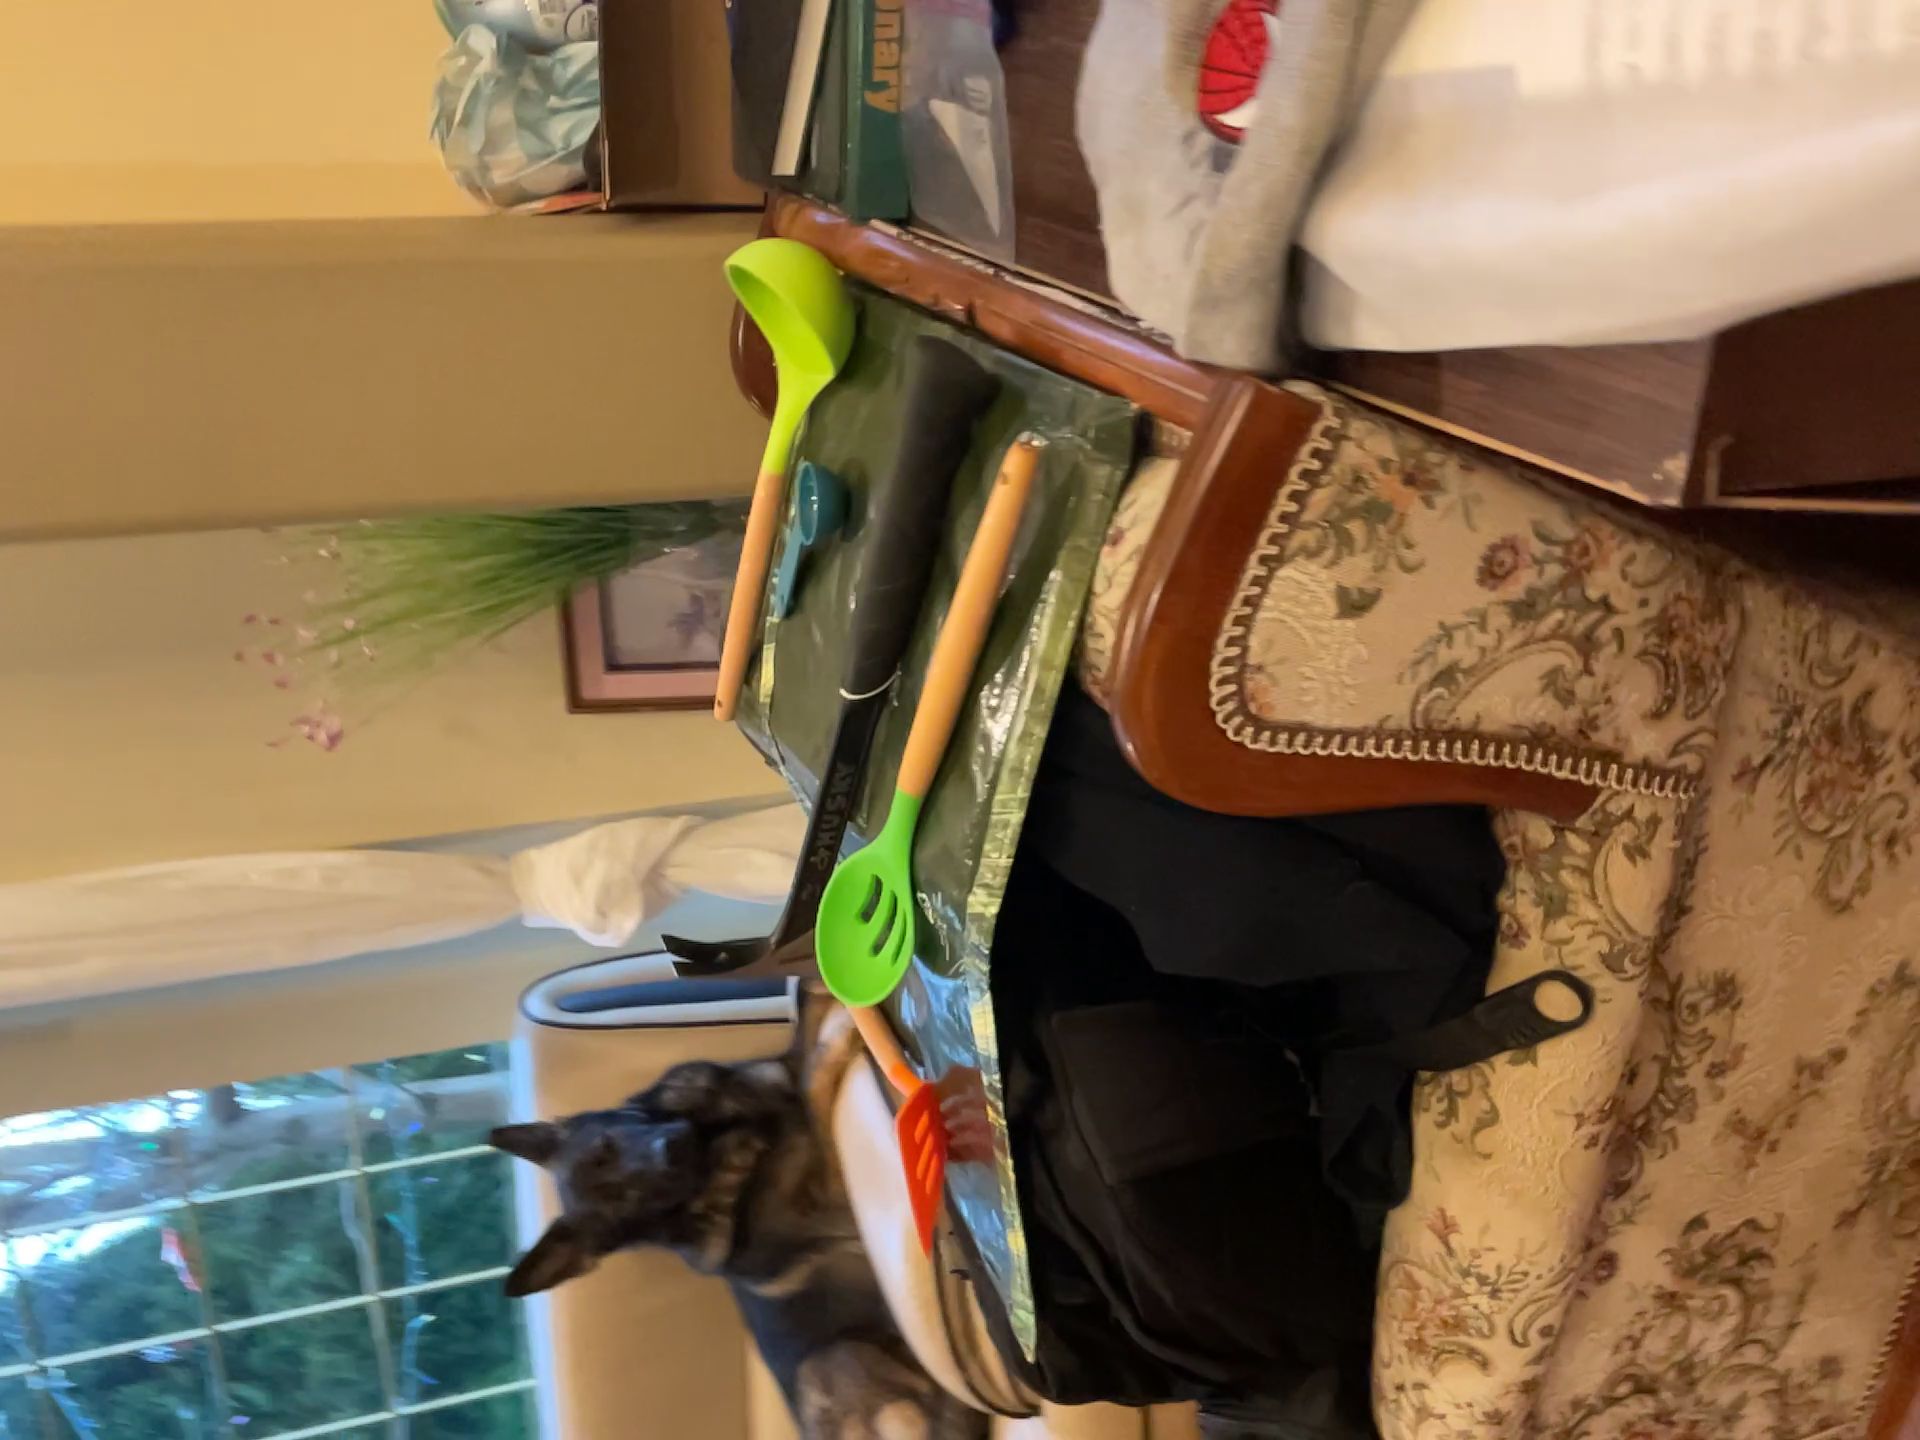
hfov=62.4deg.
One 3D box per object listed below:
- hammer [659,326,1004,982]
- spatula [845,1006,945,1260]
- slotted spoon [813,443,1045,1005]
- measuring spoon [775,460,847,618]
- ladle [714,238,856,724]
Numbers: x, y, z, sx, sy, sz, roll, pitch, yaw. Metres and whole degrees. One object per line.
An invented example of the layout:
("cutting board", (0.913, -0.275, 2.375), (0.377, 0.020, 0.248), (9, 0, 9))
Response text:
("hammer", (-0.054, -0.009, 0.794), (0.036, 0.149, 0.408), (56, 141, 39))
("spatula", (-0.051, 0.208, 0.964), (0.323, 0.041, 0.081), (-143, 41, -70))
("slotted spoon", (-0.014, 0.012, 0.725), (0.070, 0.031, 0.313), (49, 135, 35))
("measuring spoon", (-0.079, -0.091, 0.844), (0.128, 0.021, 0.042), (118, 143, -58))
("ladle", (-0.116, -0.116, 0.882), (0.078, 0.062, 0.320), (42, 134, 26))
